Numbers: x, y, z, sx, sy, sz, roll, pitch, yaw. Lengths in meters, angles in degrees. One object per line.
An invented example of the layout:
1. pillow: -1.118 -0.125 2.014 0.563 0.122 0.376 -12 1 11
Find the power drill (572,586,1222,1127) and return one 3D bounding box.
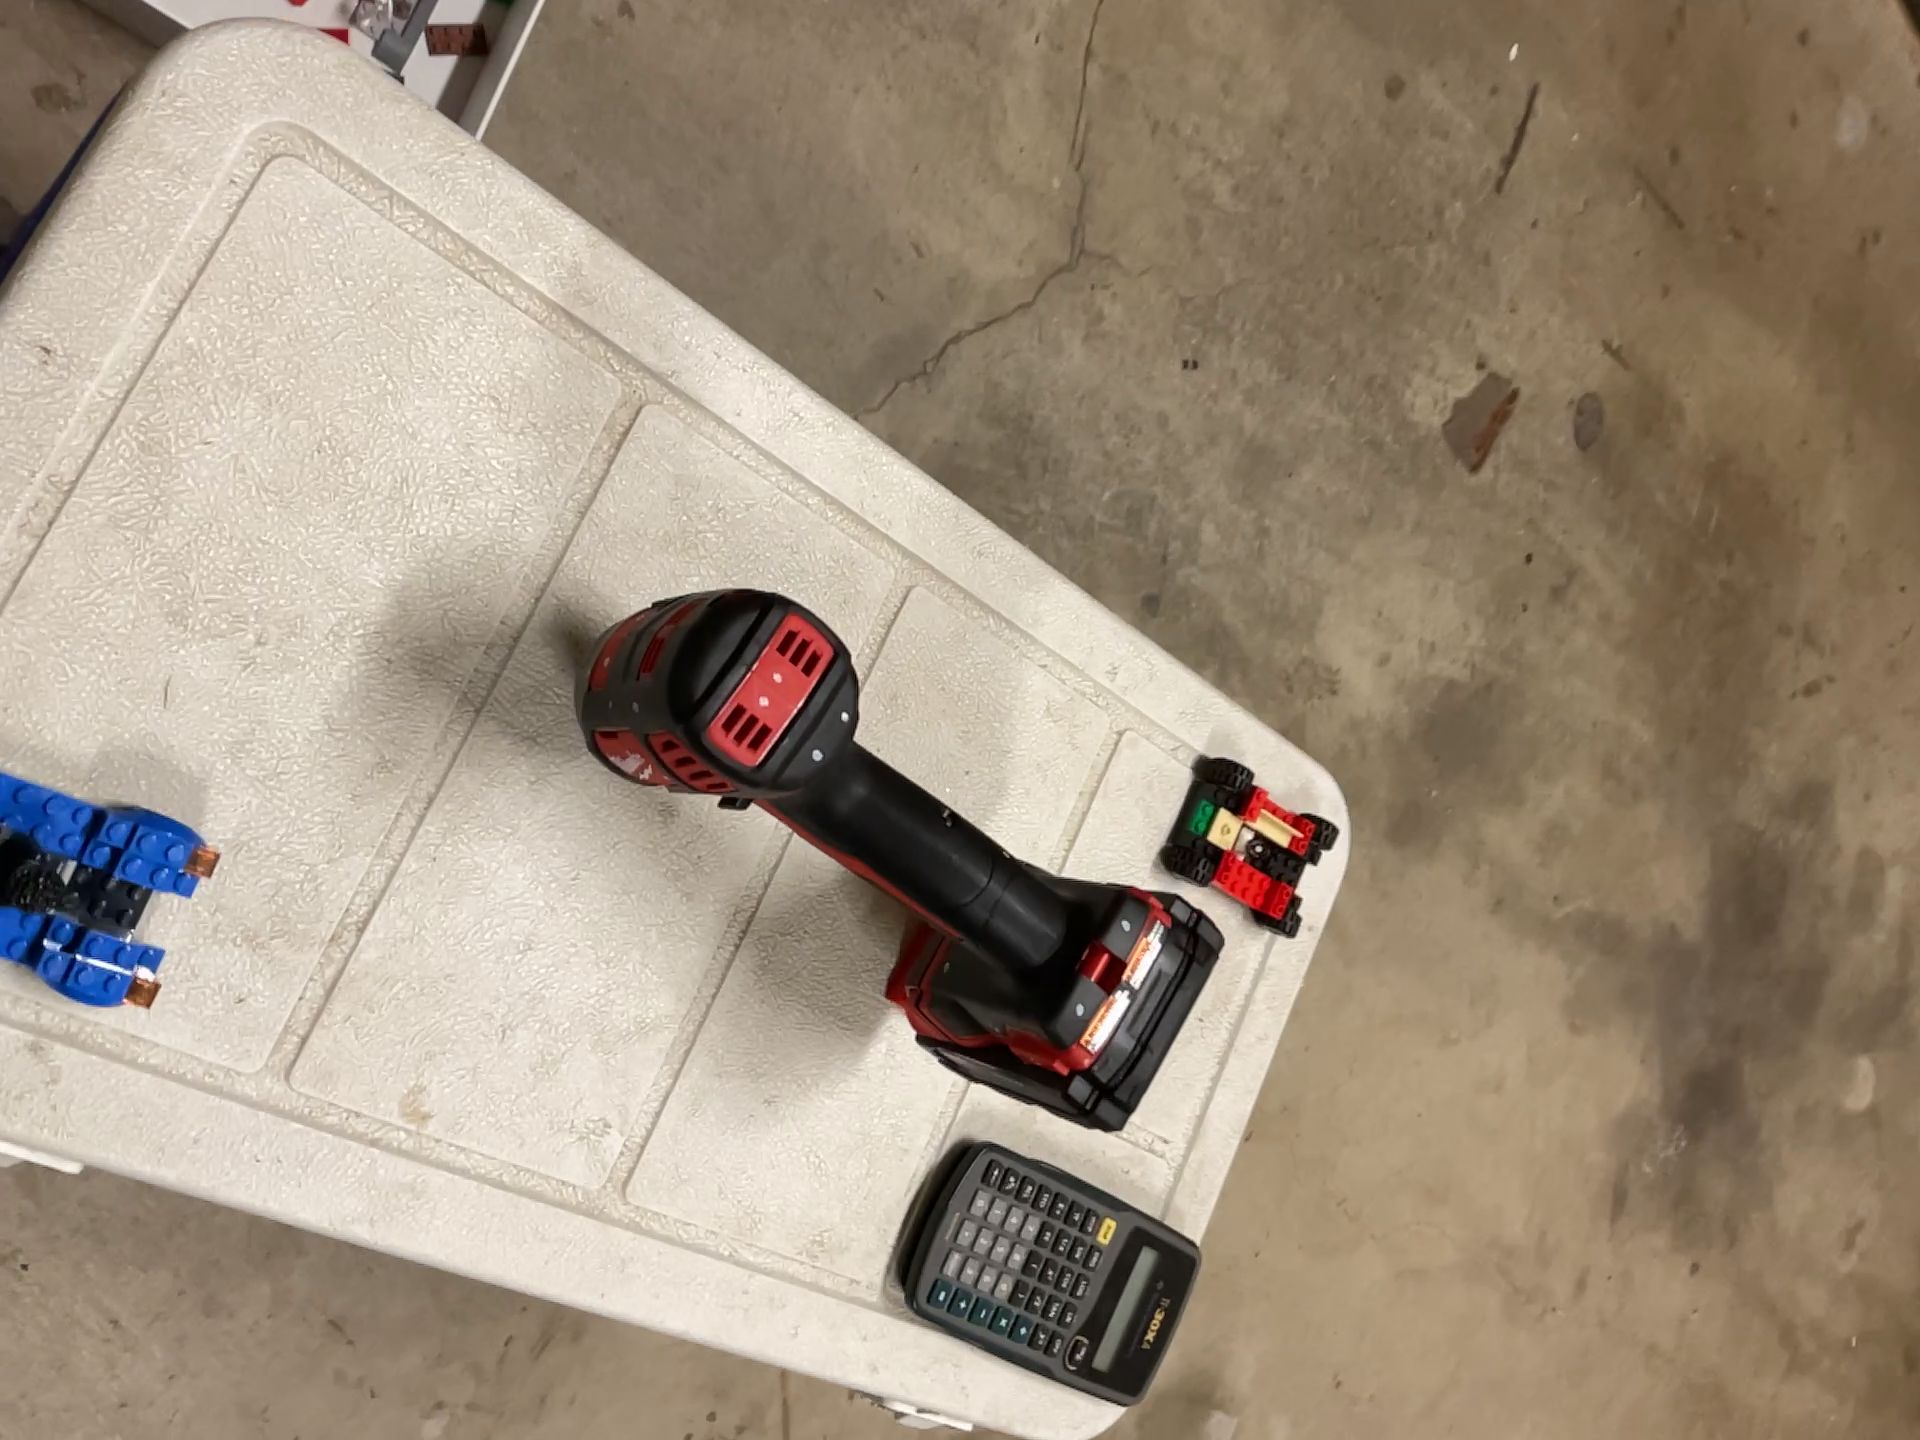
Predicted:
1. power drill: -0.031 0.039 0.531 0.219 0.143 0.079 41 70 -24
